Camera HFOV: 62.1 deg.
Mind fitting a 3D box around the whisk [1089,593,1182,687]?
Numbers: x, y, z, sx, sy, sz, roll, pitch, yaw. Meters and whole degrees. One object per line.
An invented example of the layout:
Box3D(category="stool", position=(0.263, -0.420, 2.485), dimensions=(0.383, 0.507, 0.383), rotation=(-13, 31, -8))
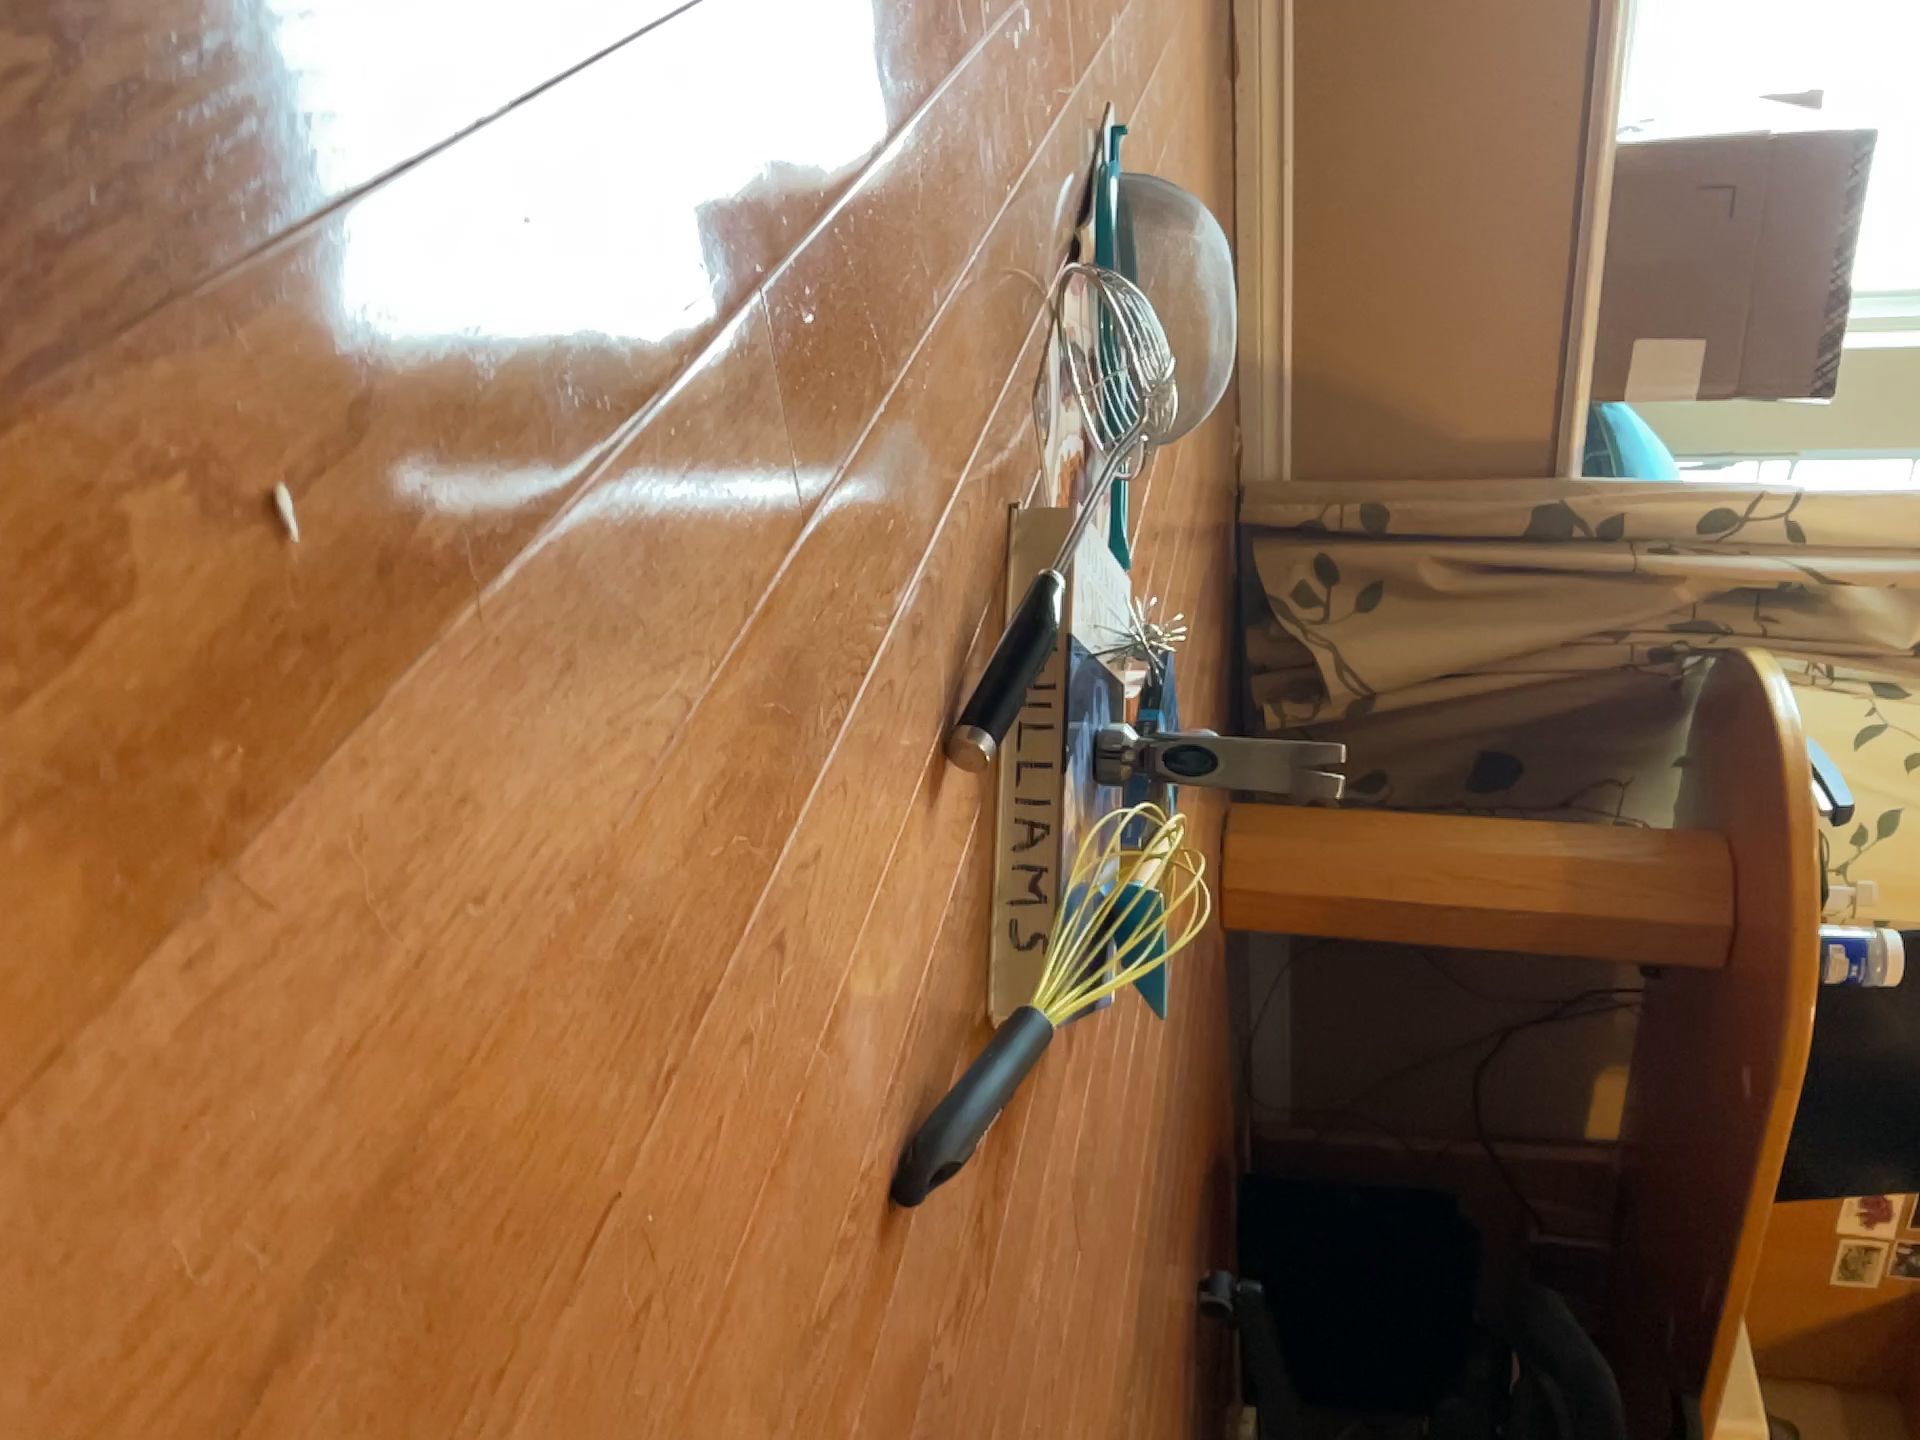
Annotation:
Box3D(category="whisk", position=(0.113, -0.048, 0.997), dimensions=(0.059, 0.057, 0.246), rotation=(60, 8, 3))

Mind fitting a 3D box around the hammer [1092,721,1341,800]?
Box3D(category="hammer", position=(0.180, 0.026, 1.101), dimensions=(0.386, 0.143, 0.038), rotation=(2, 92, -80))

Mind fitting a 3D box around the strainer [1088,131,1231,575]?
Box3D(category="strainer", position=(0.147, -0.243, 1.122), dimensions=(0.210, 0.095, 0.341), rotation=(73, 16, -55))

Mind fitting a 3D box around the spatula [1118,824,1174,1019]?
Box3D(category="spatula", position=(0.134, 0.111, 1.082), dimensions=(0.318, 0.044, 0.082), rotation=(-37, 125, -74))

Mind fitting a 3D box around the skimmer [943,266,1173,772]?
Box3D(category="skimmer", position=(0.038, -0.113, 0.853), dimensions=(0.127, 0.090, 0.364), rotation=(81, 27, -45))

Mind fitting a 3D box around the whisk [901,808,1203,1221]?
Box3D(category="whisk", position=(0.047, 0.133, 0.770), dimensions=(0.312, 0.067, 0.080), rotation=(-45, 151, -51))
